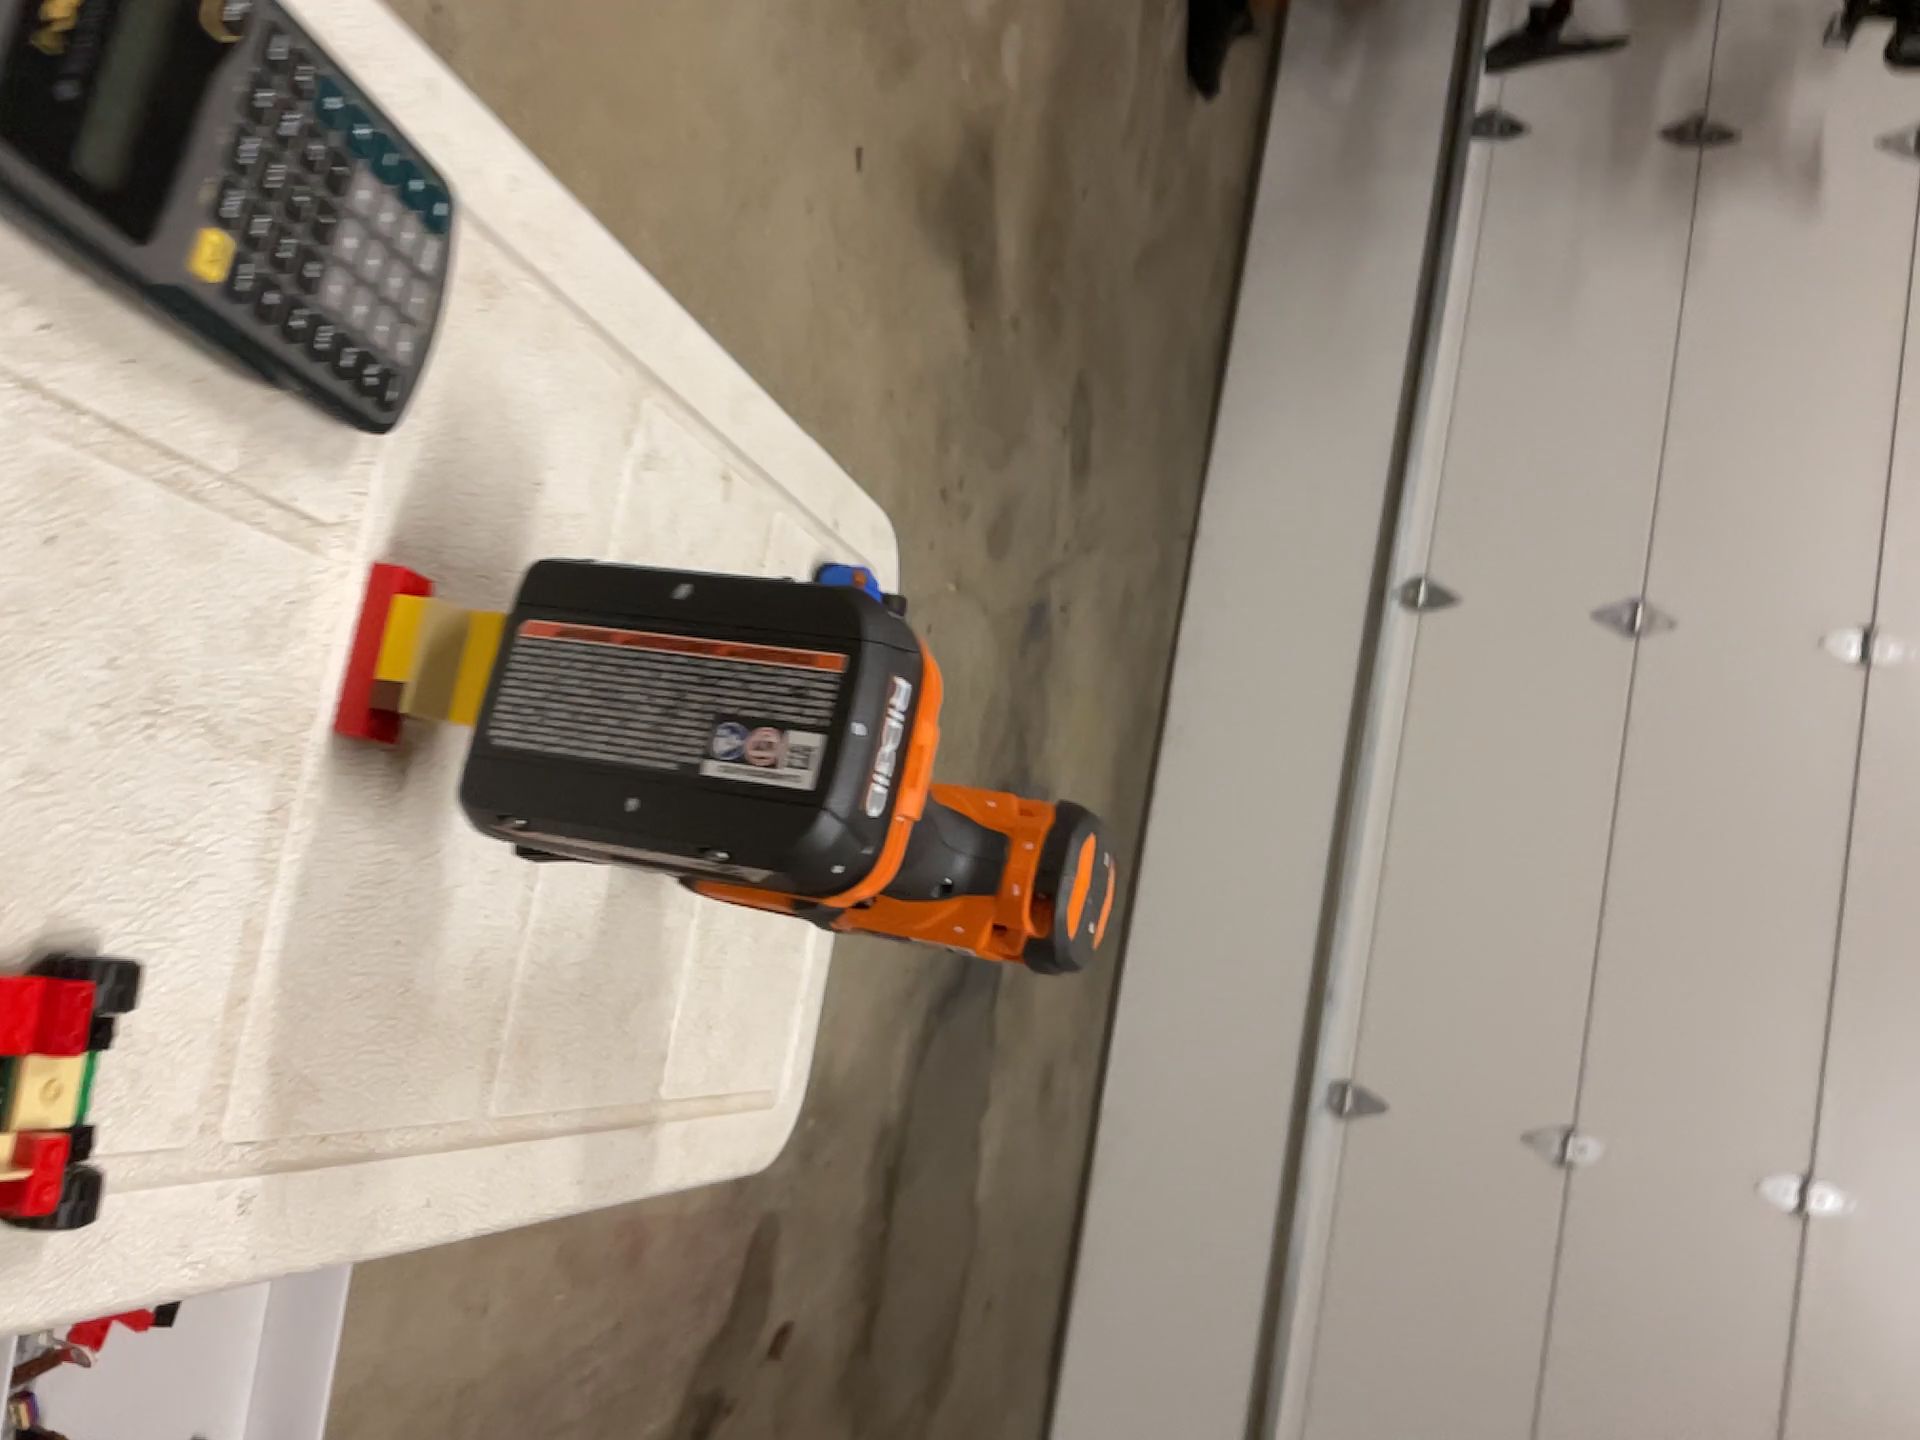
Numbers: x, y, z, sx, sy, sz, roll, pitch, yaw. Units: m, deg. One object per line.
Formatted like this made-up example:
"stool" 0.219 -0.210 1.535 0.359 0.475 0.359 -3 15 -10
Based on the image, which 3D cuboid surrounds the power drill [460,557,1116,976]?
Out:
"power drill" -0.063 0.025 0.509 0.226 0.185 0.084 42 59 -64
